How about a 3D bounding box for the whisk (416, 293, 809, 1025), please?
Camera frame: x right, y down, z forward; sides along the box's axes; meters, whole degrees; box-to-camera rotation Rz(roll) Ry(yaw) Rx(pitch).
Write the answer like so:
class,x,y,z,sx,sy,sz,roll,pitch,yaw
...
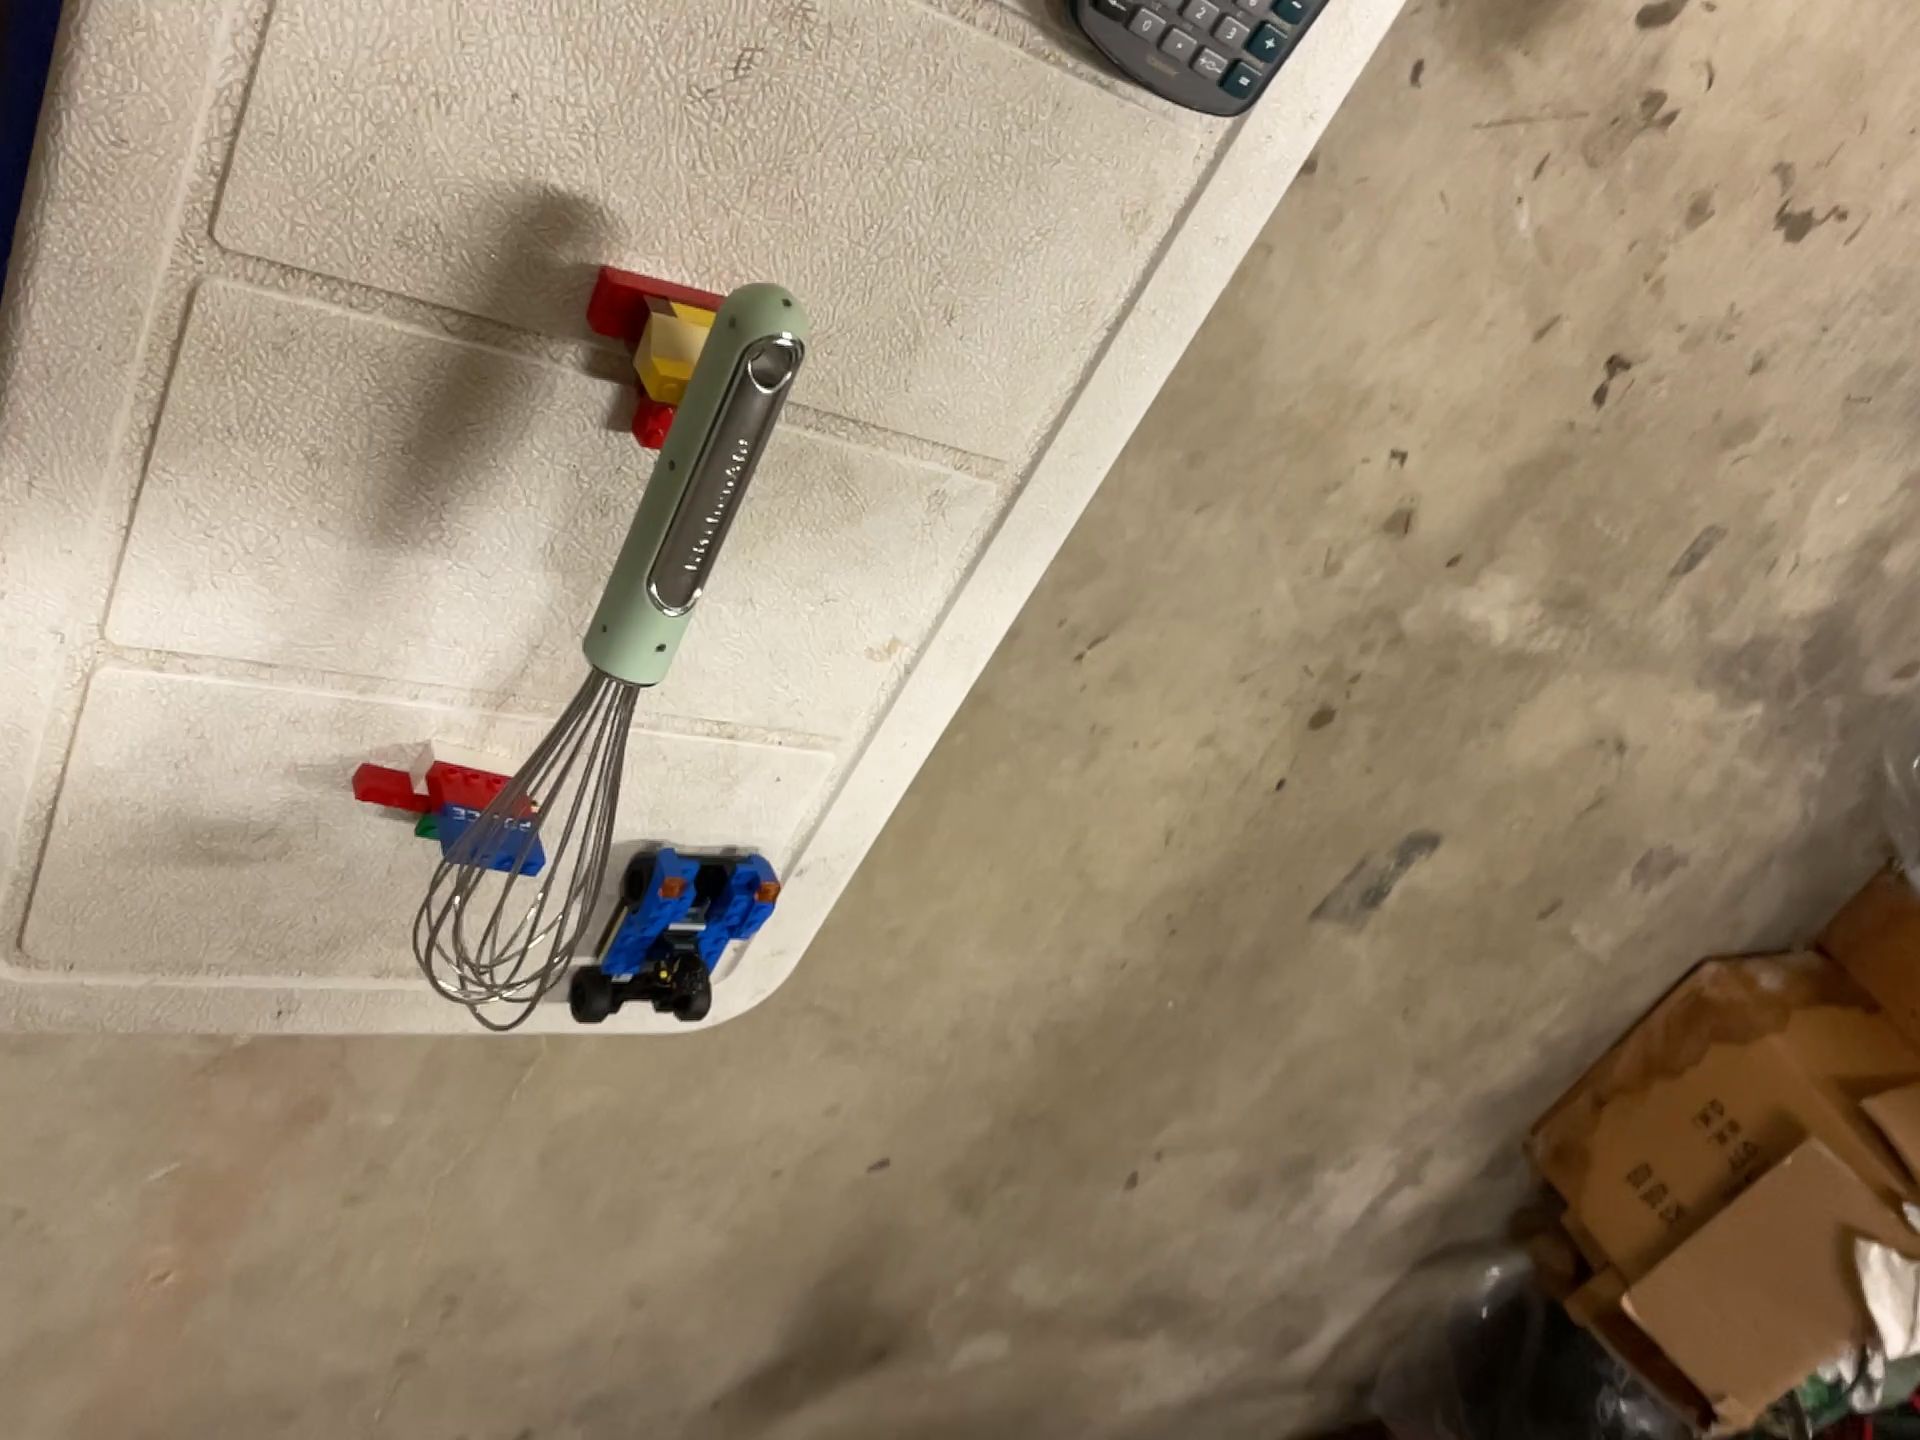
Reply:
class,x,y,z,sx,sy,sz,roll,pitch,yaw
whisk,-0.101,-0.010,0.465,0.058,0.059,0.246,5,122,-43
